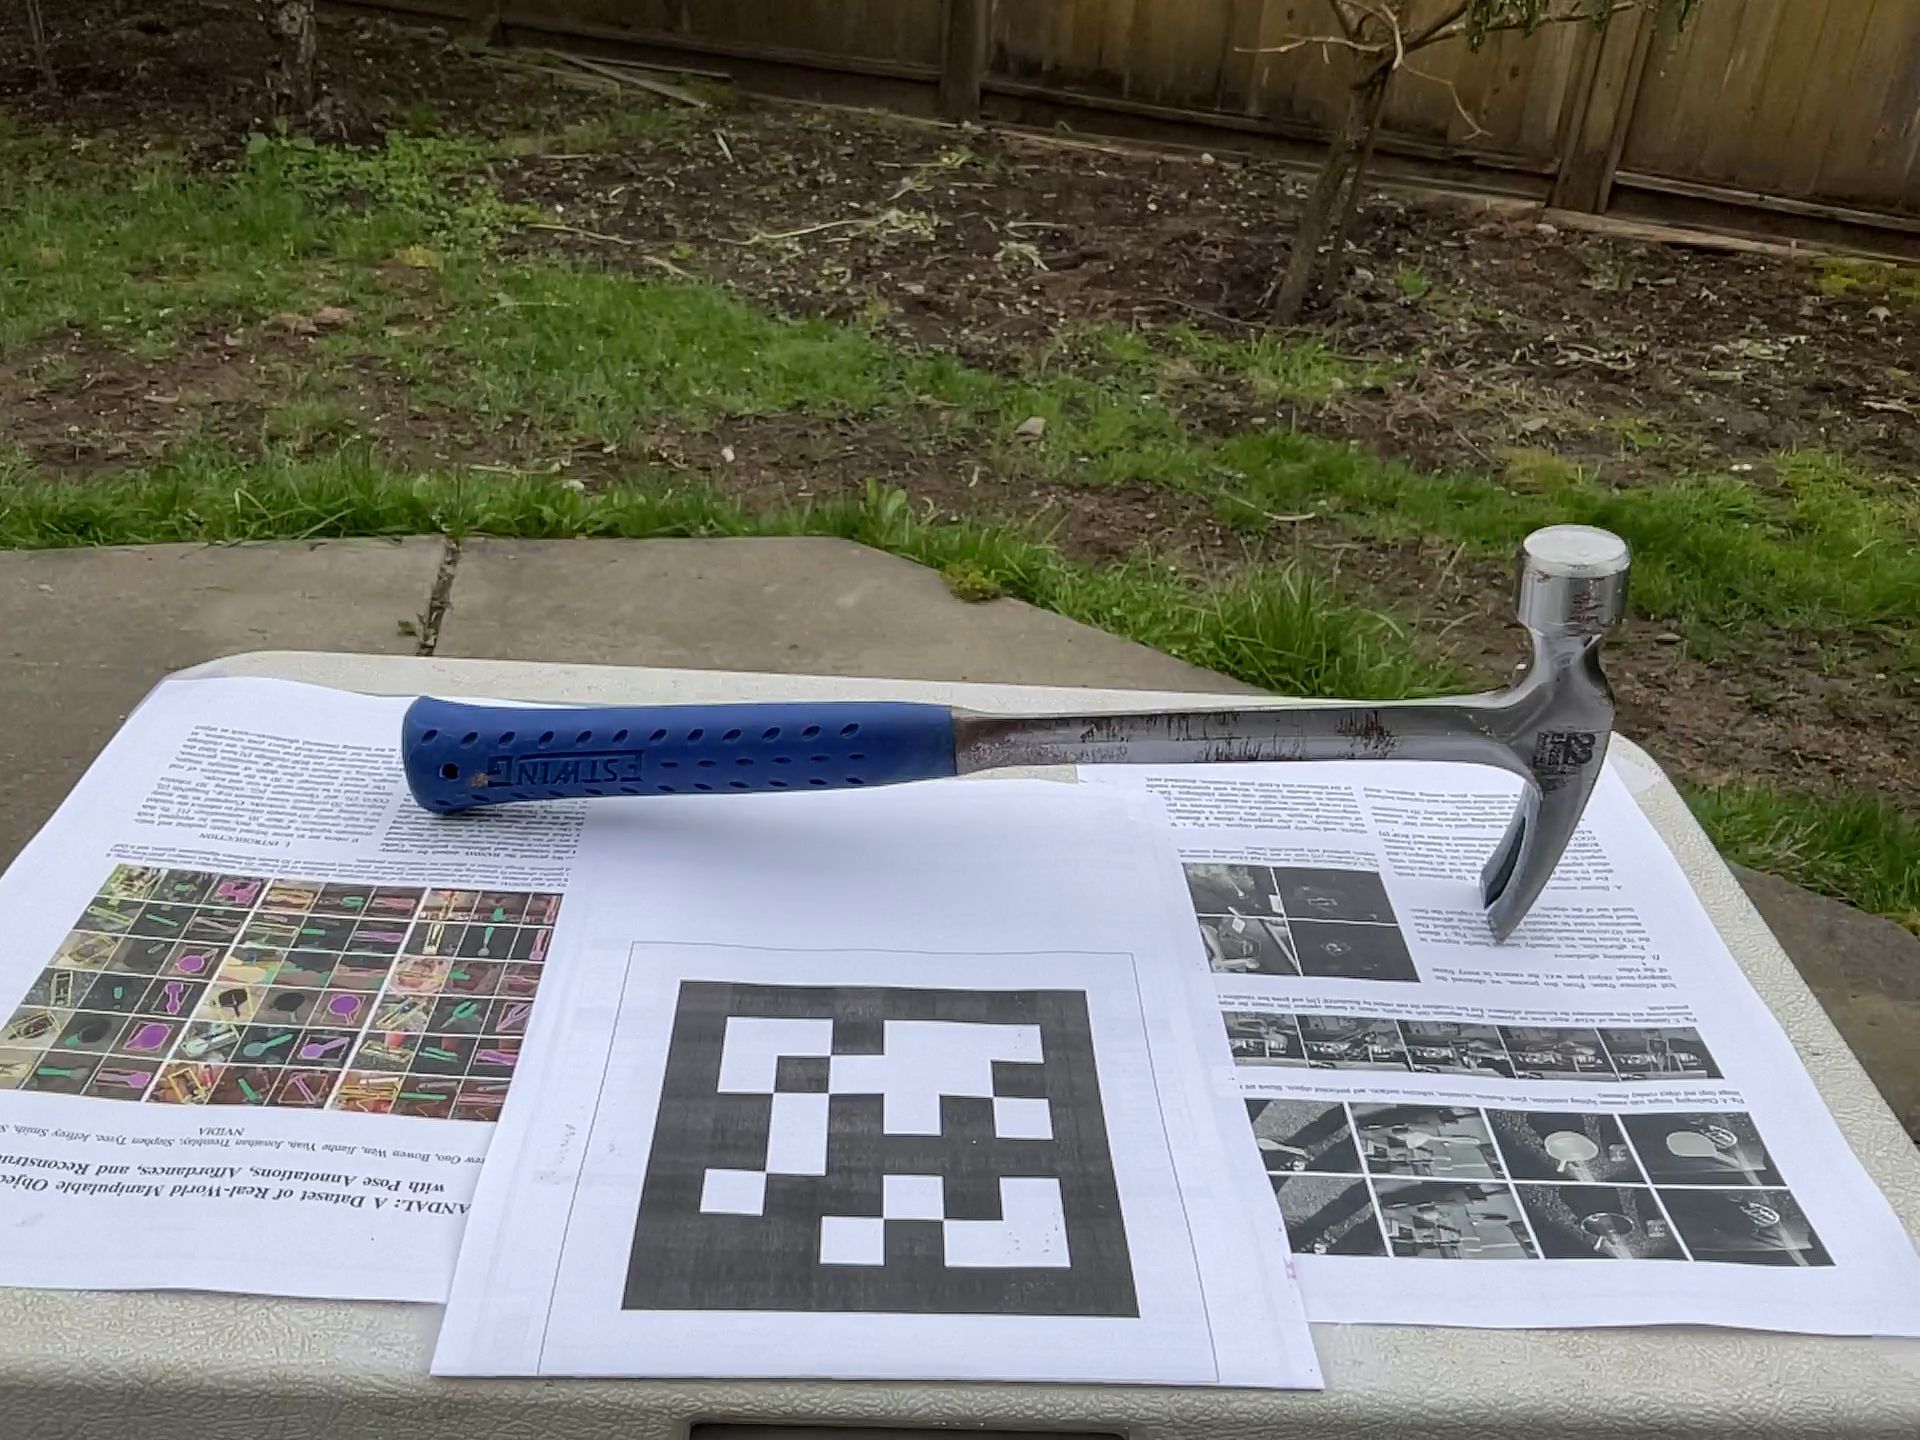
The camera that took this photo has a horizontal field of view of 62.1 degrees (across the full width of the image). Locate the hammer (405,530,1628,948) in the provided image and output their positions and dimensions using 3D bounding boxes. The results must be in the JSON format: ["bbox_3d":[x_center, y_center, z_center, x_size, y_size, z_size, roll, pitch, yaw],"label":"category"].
[{"bbox_3d":[0.010,0.014,0.551,0.405,0.144,0.035,-2,30,7],"label":"hammer"}]
